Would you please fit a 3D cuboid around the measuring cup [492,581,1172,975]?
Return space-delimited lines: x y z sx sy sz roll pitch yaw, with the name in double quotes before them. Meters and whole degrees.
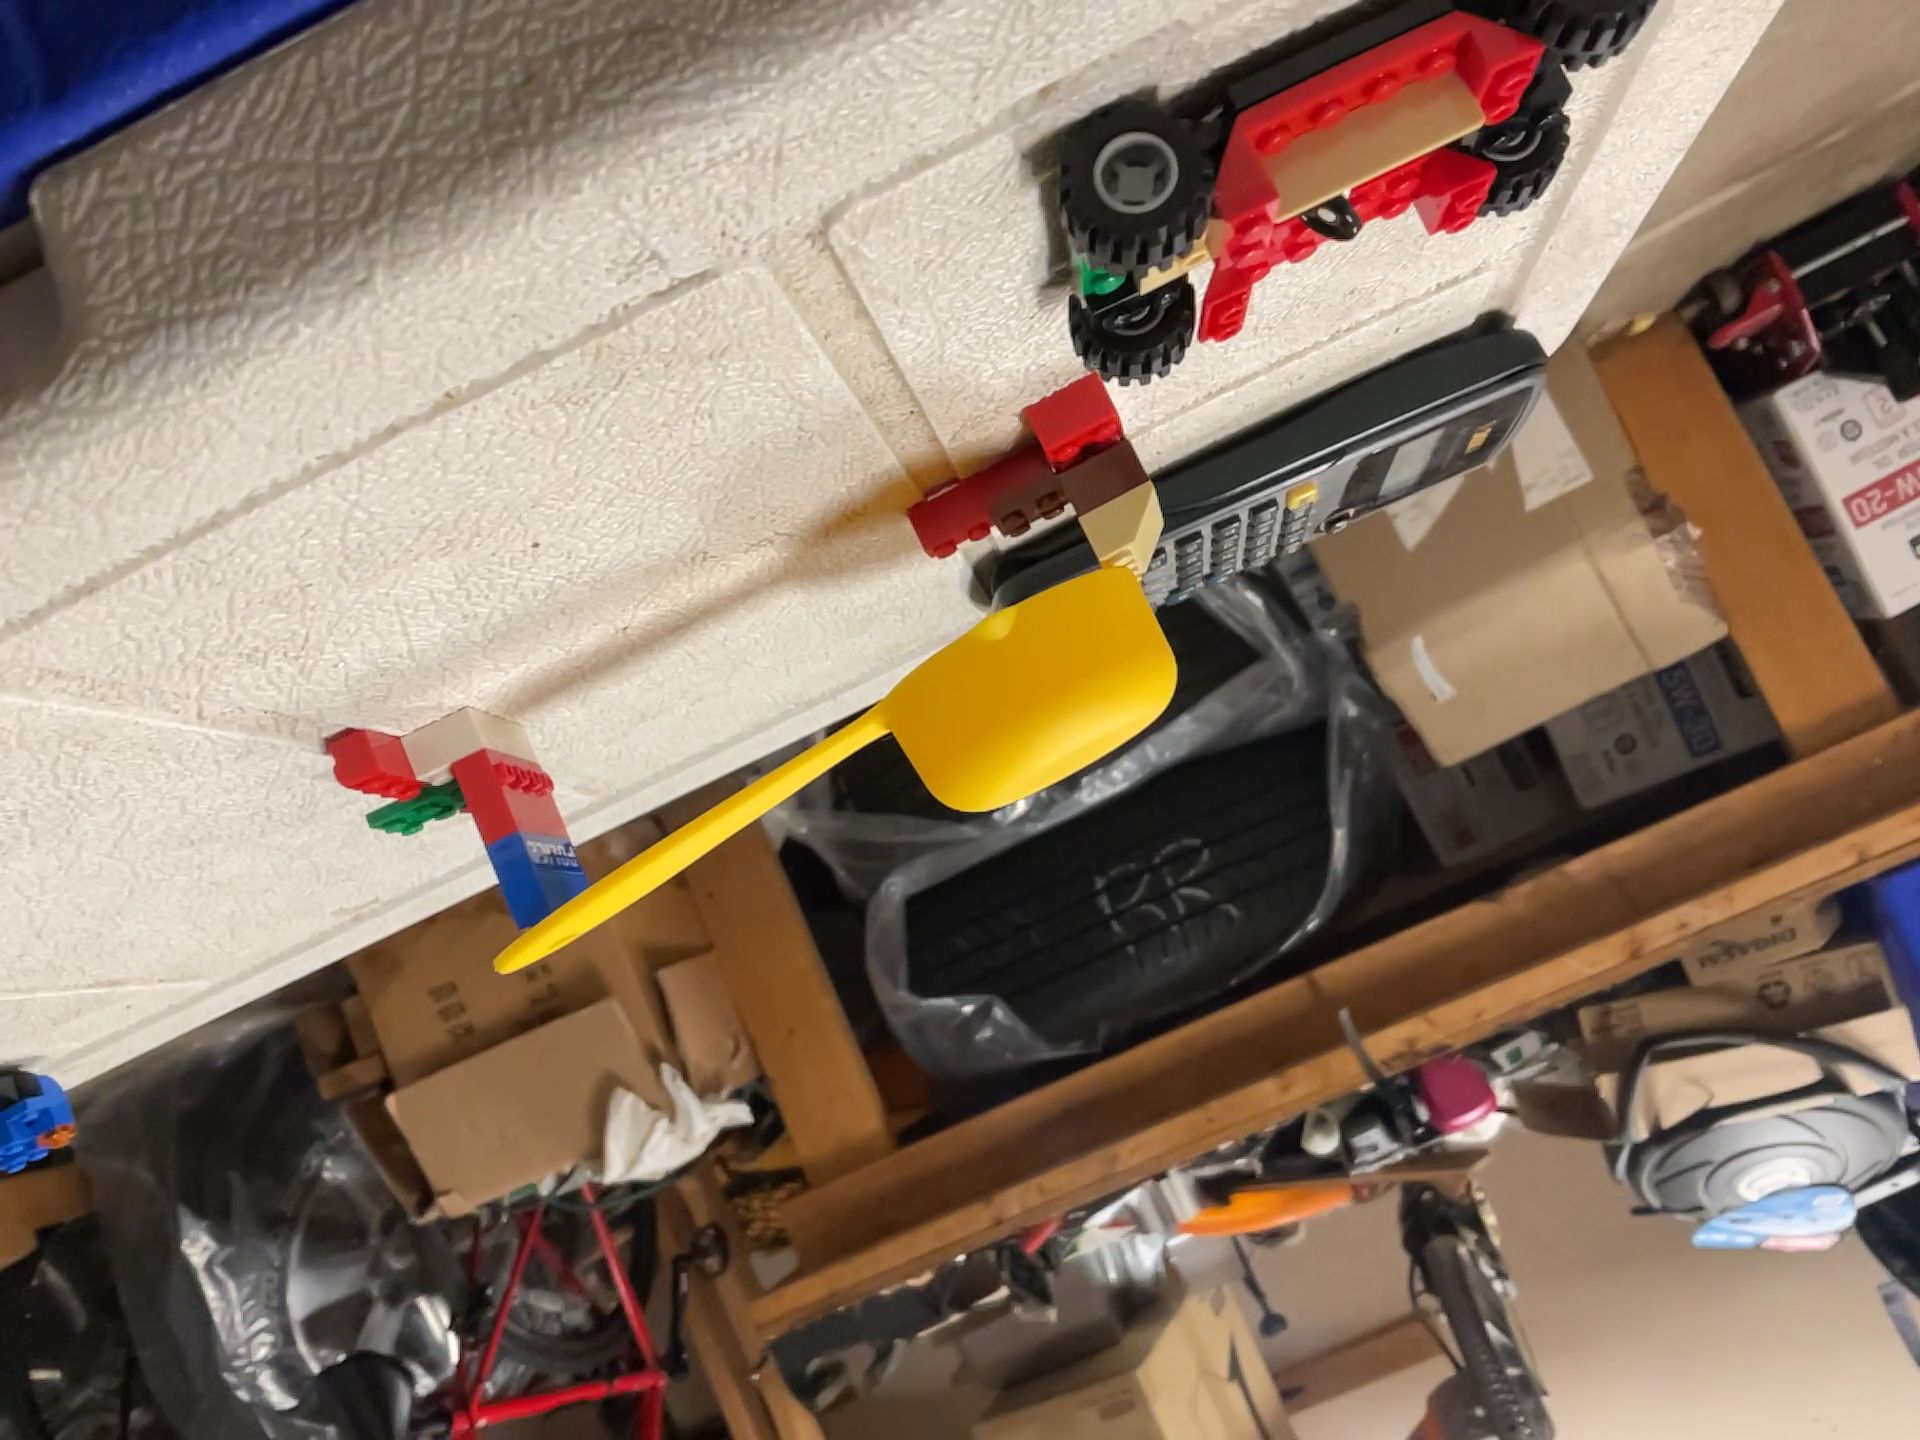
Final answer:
"measuring cup" -0.026 0.022 0.334 0.156 0.029 0.062 -31 171 3
